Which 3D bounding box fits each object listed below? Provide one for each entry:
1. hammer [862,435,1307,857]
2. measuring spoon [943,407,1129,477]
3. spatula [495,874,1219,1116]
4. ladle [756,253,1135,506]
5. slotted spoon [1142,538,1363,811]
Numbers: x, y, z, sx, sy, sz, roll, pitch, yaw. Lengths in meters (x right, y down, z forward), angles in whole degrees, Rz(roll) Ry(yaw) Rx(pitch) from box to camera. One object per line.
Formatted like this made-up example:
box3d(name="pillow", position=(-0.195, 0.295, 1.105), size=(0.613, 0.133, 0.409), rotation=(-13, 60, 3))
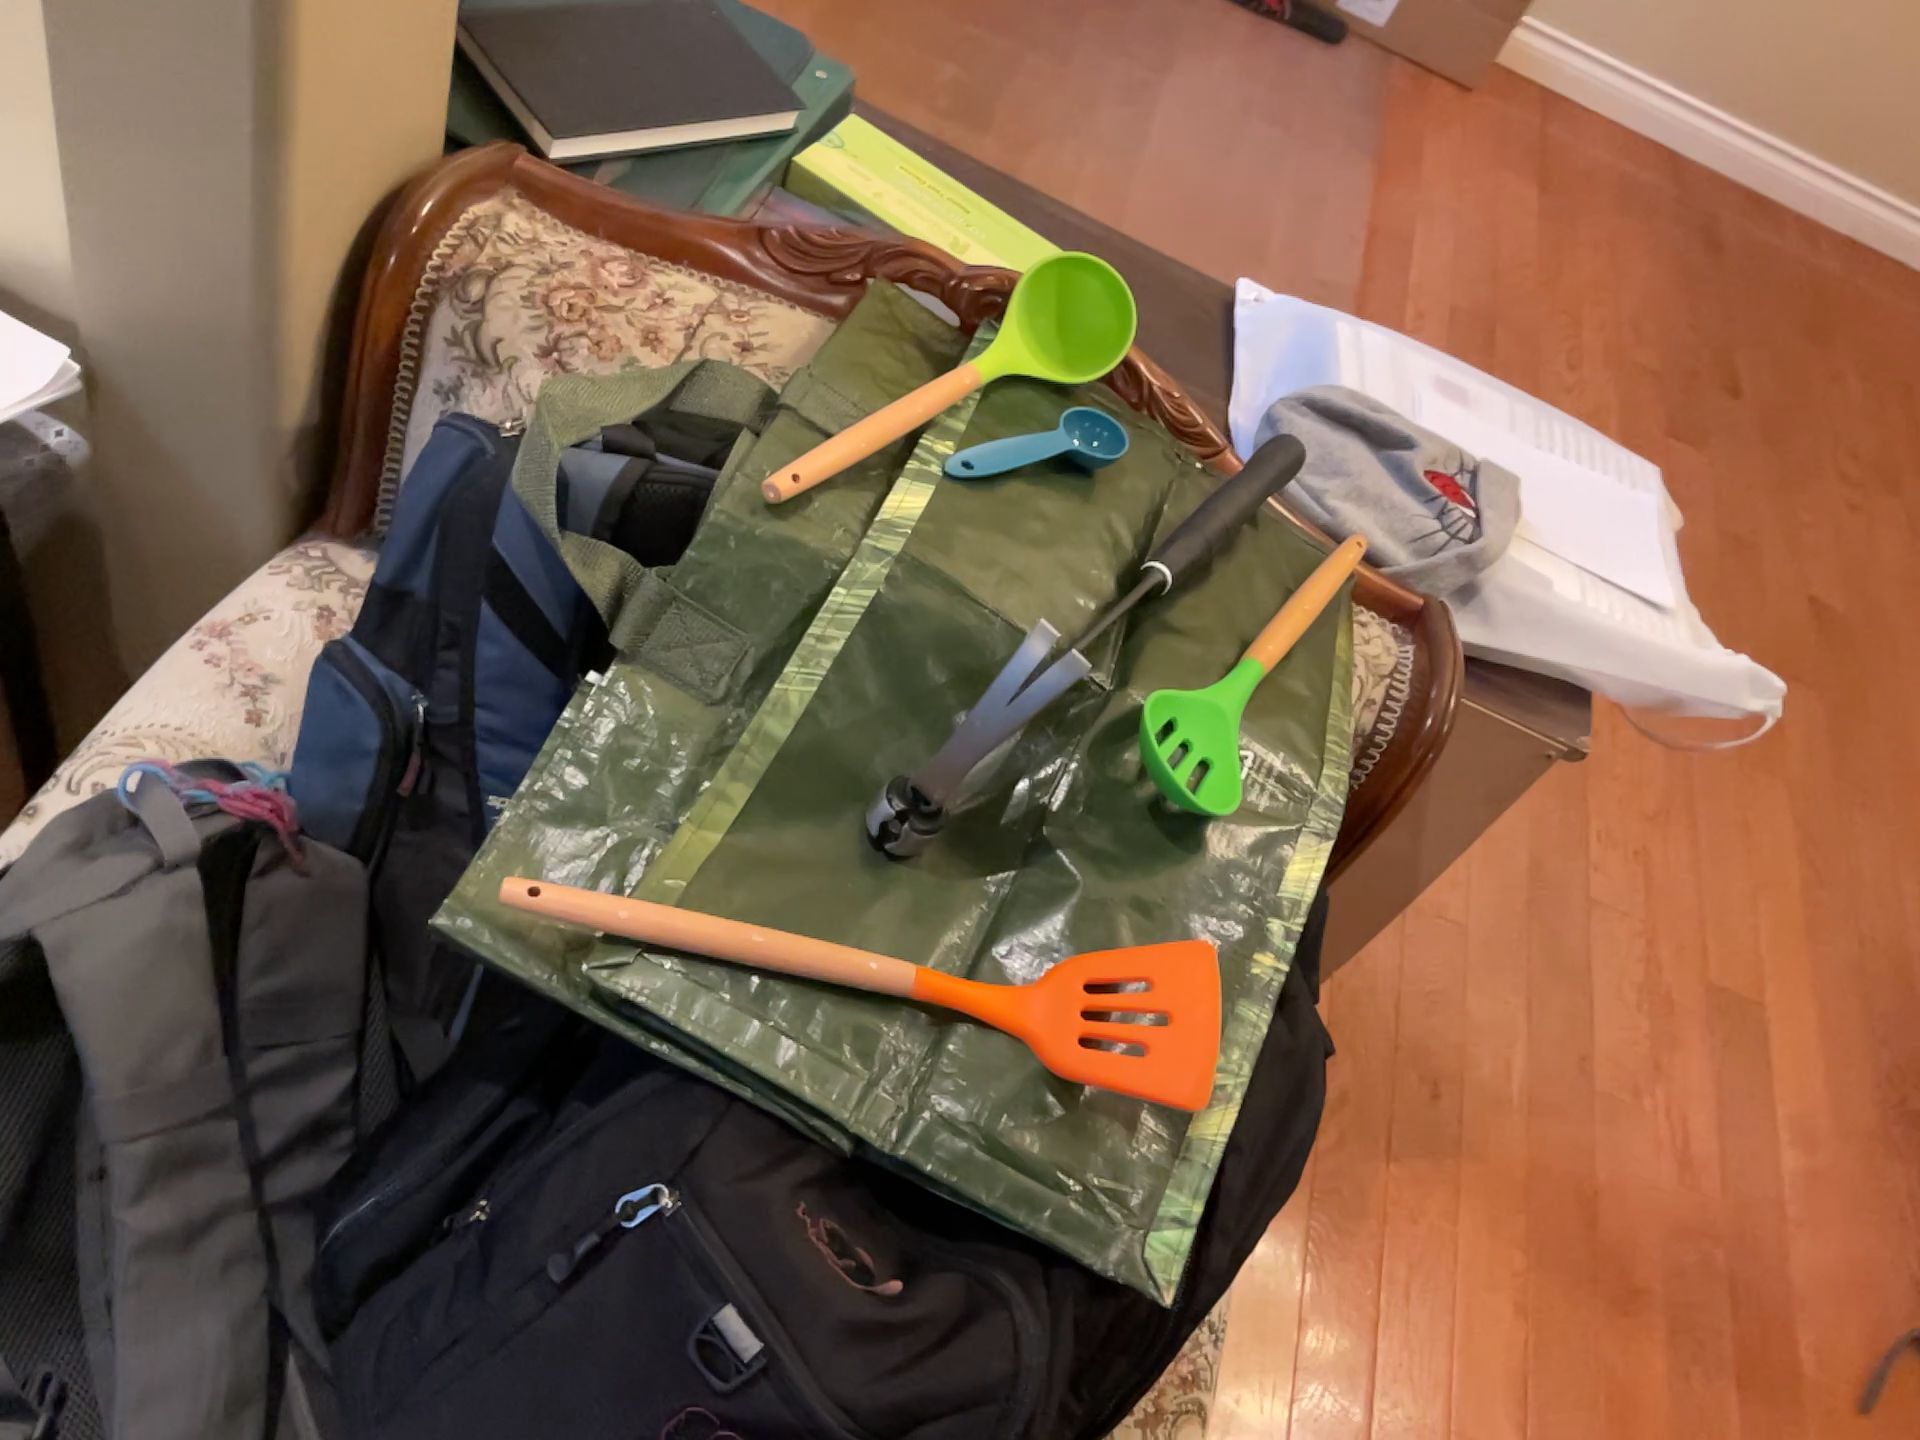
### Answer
box3d(name="hammer", position=(0.099, -0.072, 0.854), size=(0.036, 0.149, 0.409), rotation=(46, 44, 2))
box3d(name="measuring spoon", position=(0.040, -0.146, 0.885), size=(0.128, 0.021, 0.042), rotation=(-19, 62, -34))
box3d(name="spatula", position=(-0.044, 0.108, 0.703), size=(0.322, 0.041, 0.081), rotation=(14, 59, -8))
box3d(name="ladle", position=(-0.001, -0.185, 0.871), size=(0.320, 0.062, 0.078), rotation=(-40, 102, -46))
box3d(name="slotted spoon", position=(0.171, -0.037, 0.875), size=(0.070, 0.031, 0.313), rotation=(49, 41, -2))
